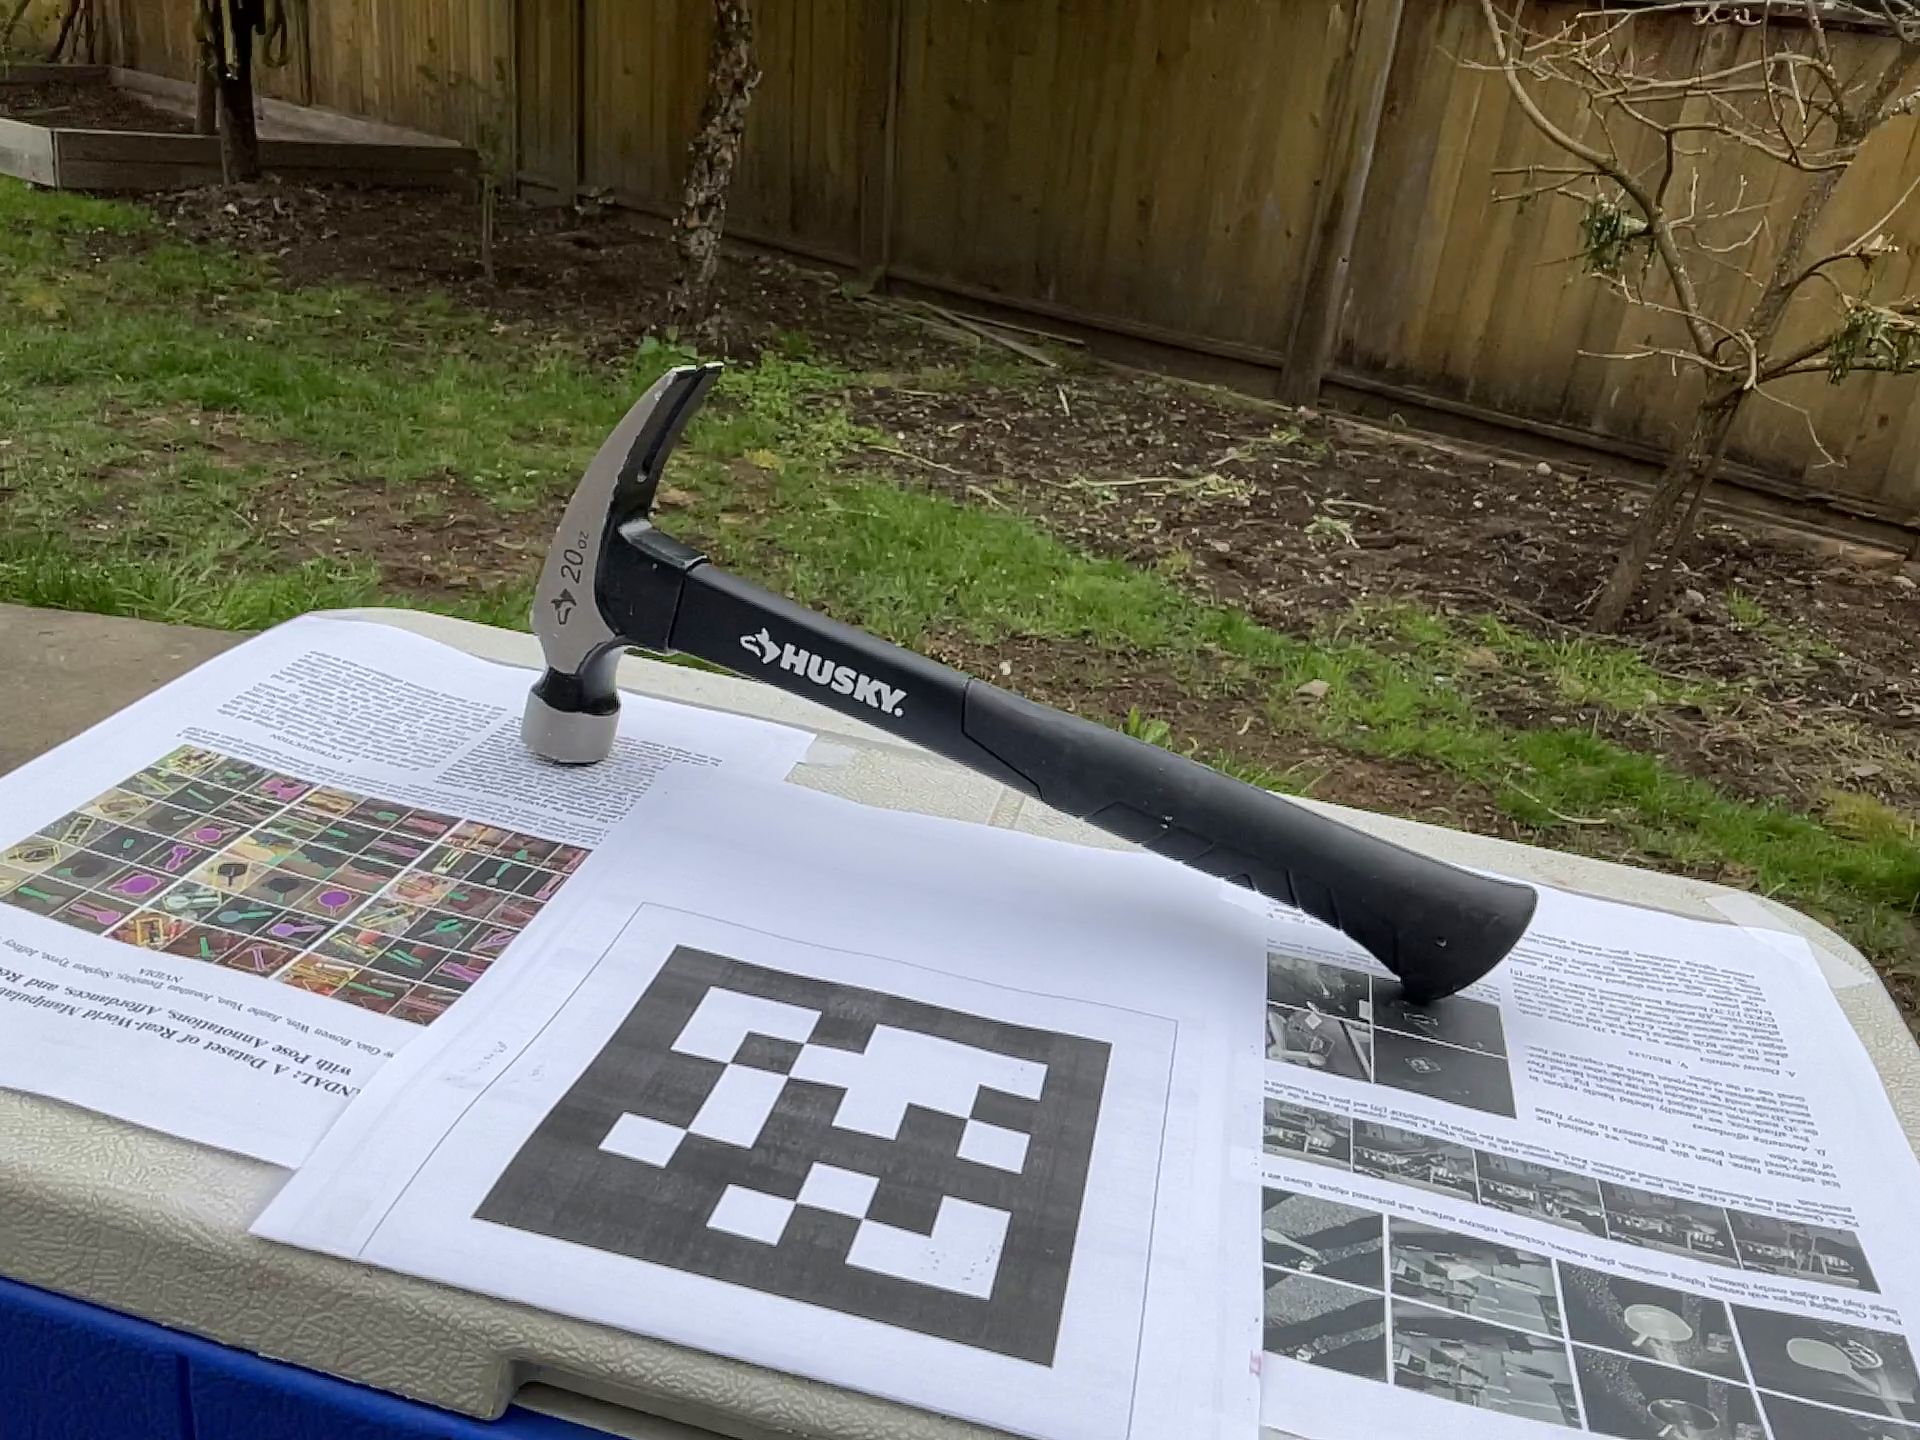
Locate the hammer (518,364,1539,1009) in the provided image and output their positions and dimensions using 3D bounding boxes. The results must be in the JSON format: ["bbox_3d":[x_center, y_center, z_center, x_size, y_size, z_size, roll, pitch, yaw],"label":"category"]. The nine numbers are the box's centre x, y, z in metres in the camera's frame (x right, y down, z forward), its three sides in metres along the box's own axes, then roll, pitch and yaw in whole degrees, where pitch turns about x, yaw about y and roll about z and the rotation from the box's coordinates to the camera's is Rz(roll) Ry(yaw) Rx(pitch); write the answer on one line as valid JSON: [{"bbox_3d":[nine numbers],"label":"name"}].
[{"bbox_3d":[0.017,0.002,0.510,0.335,0.146,0.035,23,21,11],"label":"hammer"}]
